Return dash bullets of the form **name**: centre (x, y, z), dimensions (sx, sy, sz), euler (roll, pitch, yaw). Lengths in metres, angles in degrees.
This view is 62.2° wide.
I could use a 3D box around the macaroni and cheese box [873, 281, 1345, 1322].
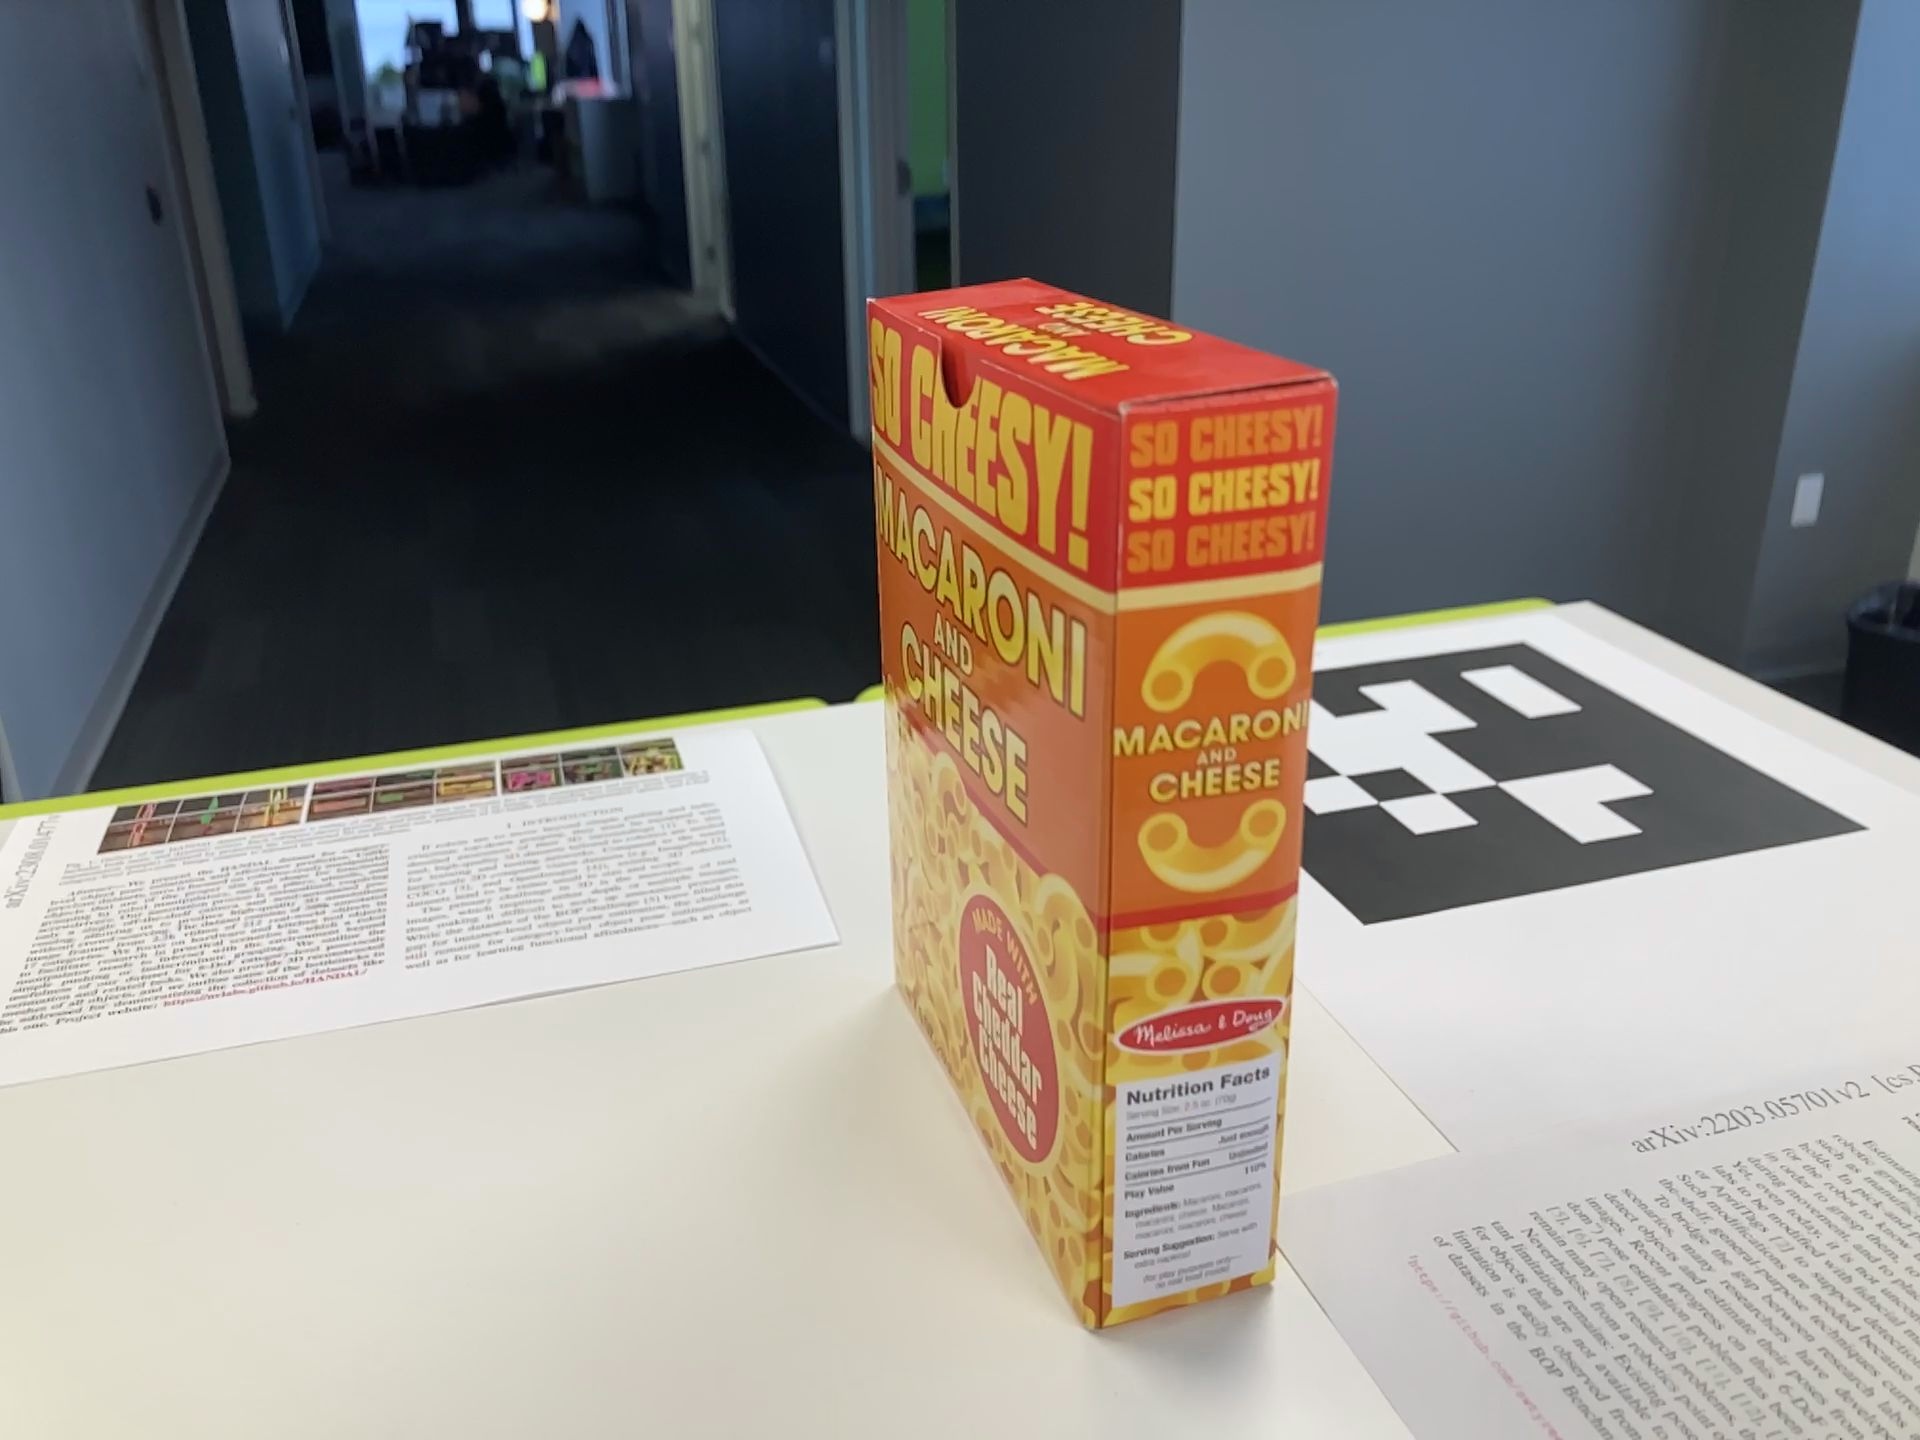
- **macaroni and cheese box**: centre (0.020, 0.008, 0.310), dimensions (0.040, 0.166, 0.124), euler (-9, 24, -18)
